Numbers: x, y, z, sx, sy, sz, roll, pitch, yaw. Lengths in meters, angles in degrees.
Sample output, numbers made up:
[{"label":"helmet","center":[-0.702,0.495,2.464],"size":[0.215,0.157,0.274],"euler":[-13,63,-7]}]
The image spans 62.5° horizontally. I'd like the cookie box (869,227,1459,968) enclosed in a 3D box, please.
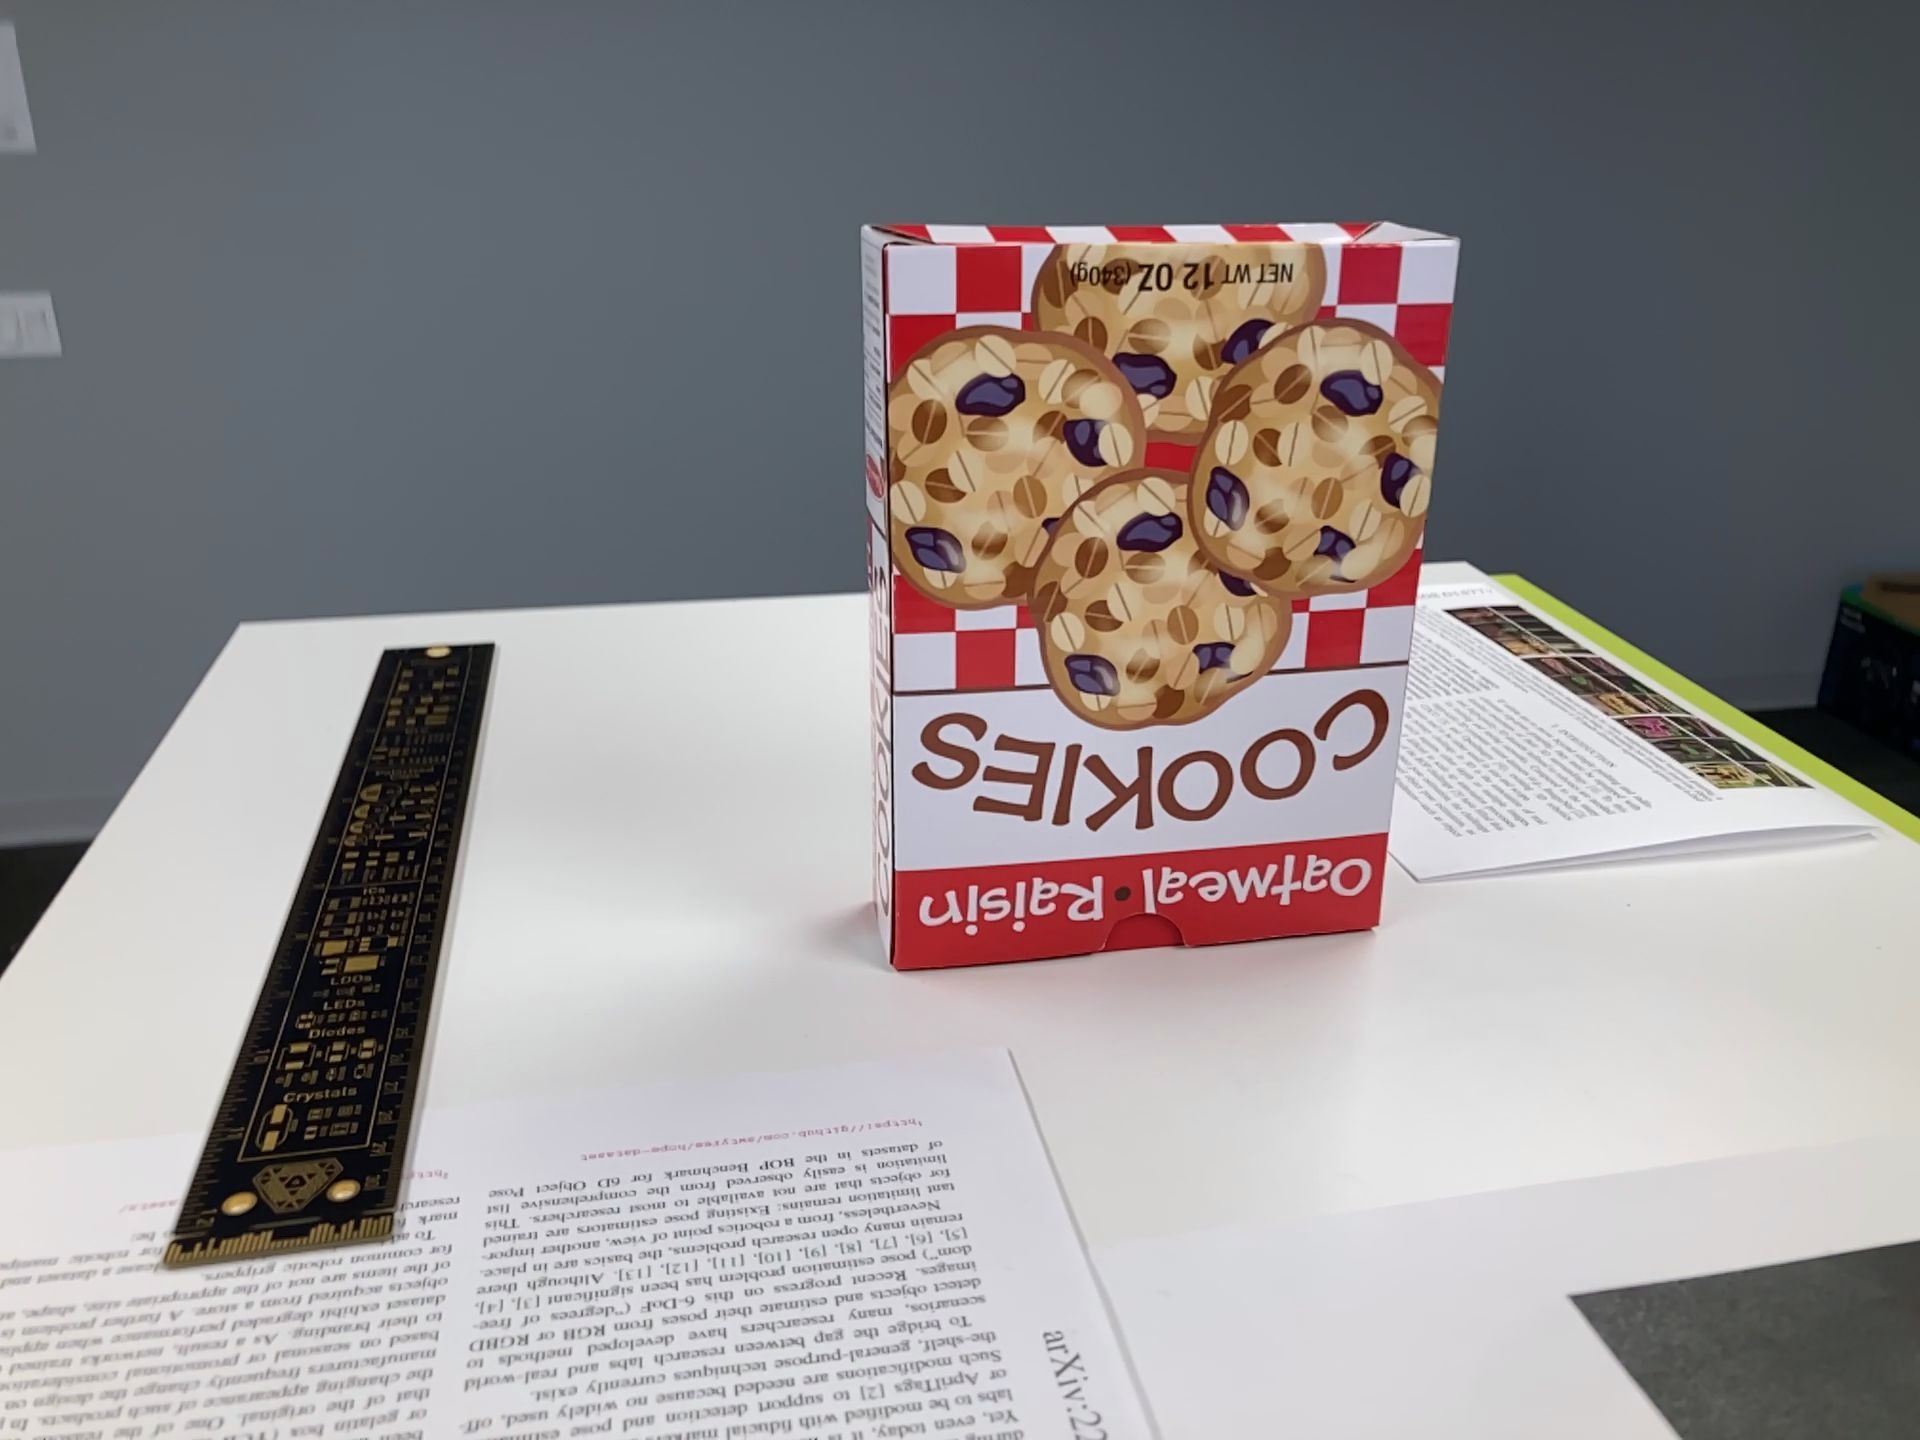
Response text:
[{"label":"cookie box","center":[0.042,-0.027,0.371],"size":[0.123,0.167,0.040],"euler":[-3,22,-10]}]
